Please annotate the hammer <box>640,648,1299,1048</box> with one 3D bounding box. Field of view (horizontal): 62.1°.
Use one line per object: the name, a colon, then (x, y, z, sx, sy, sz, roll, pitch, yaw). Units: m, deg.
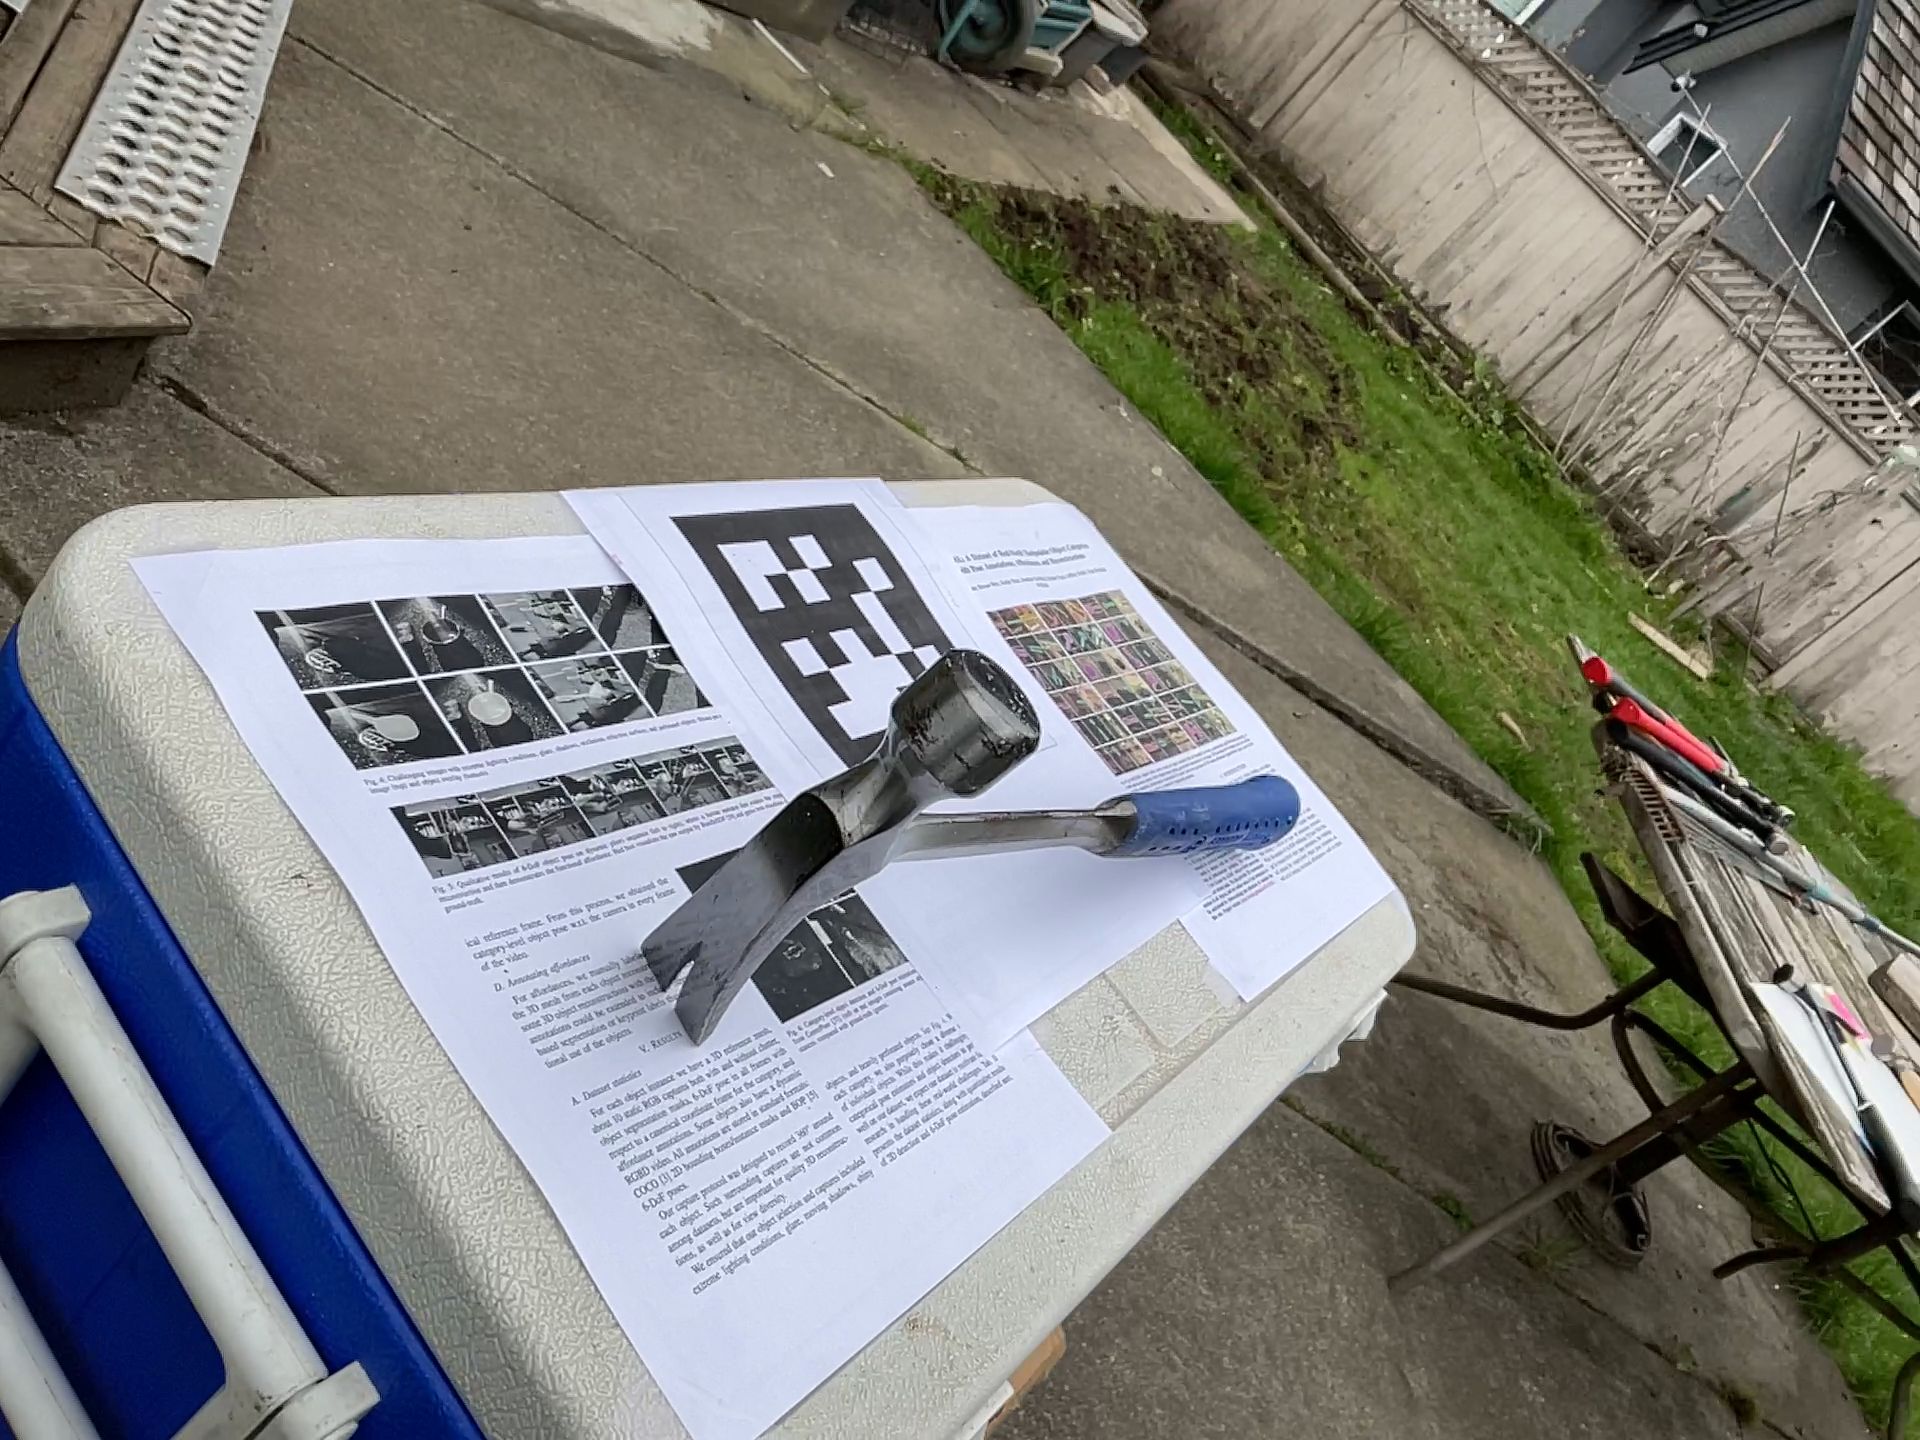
hammer: (0.045, 0.042, 0.589, 0.035, 0.144, 0.405, 56, 21, 18)
